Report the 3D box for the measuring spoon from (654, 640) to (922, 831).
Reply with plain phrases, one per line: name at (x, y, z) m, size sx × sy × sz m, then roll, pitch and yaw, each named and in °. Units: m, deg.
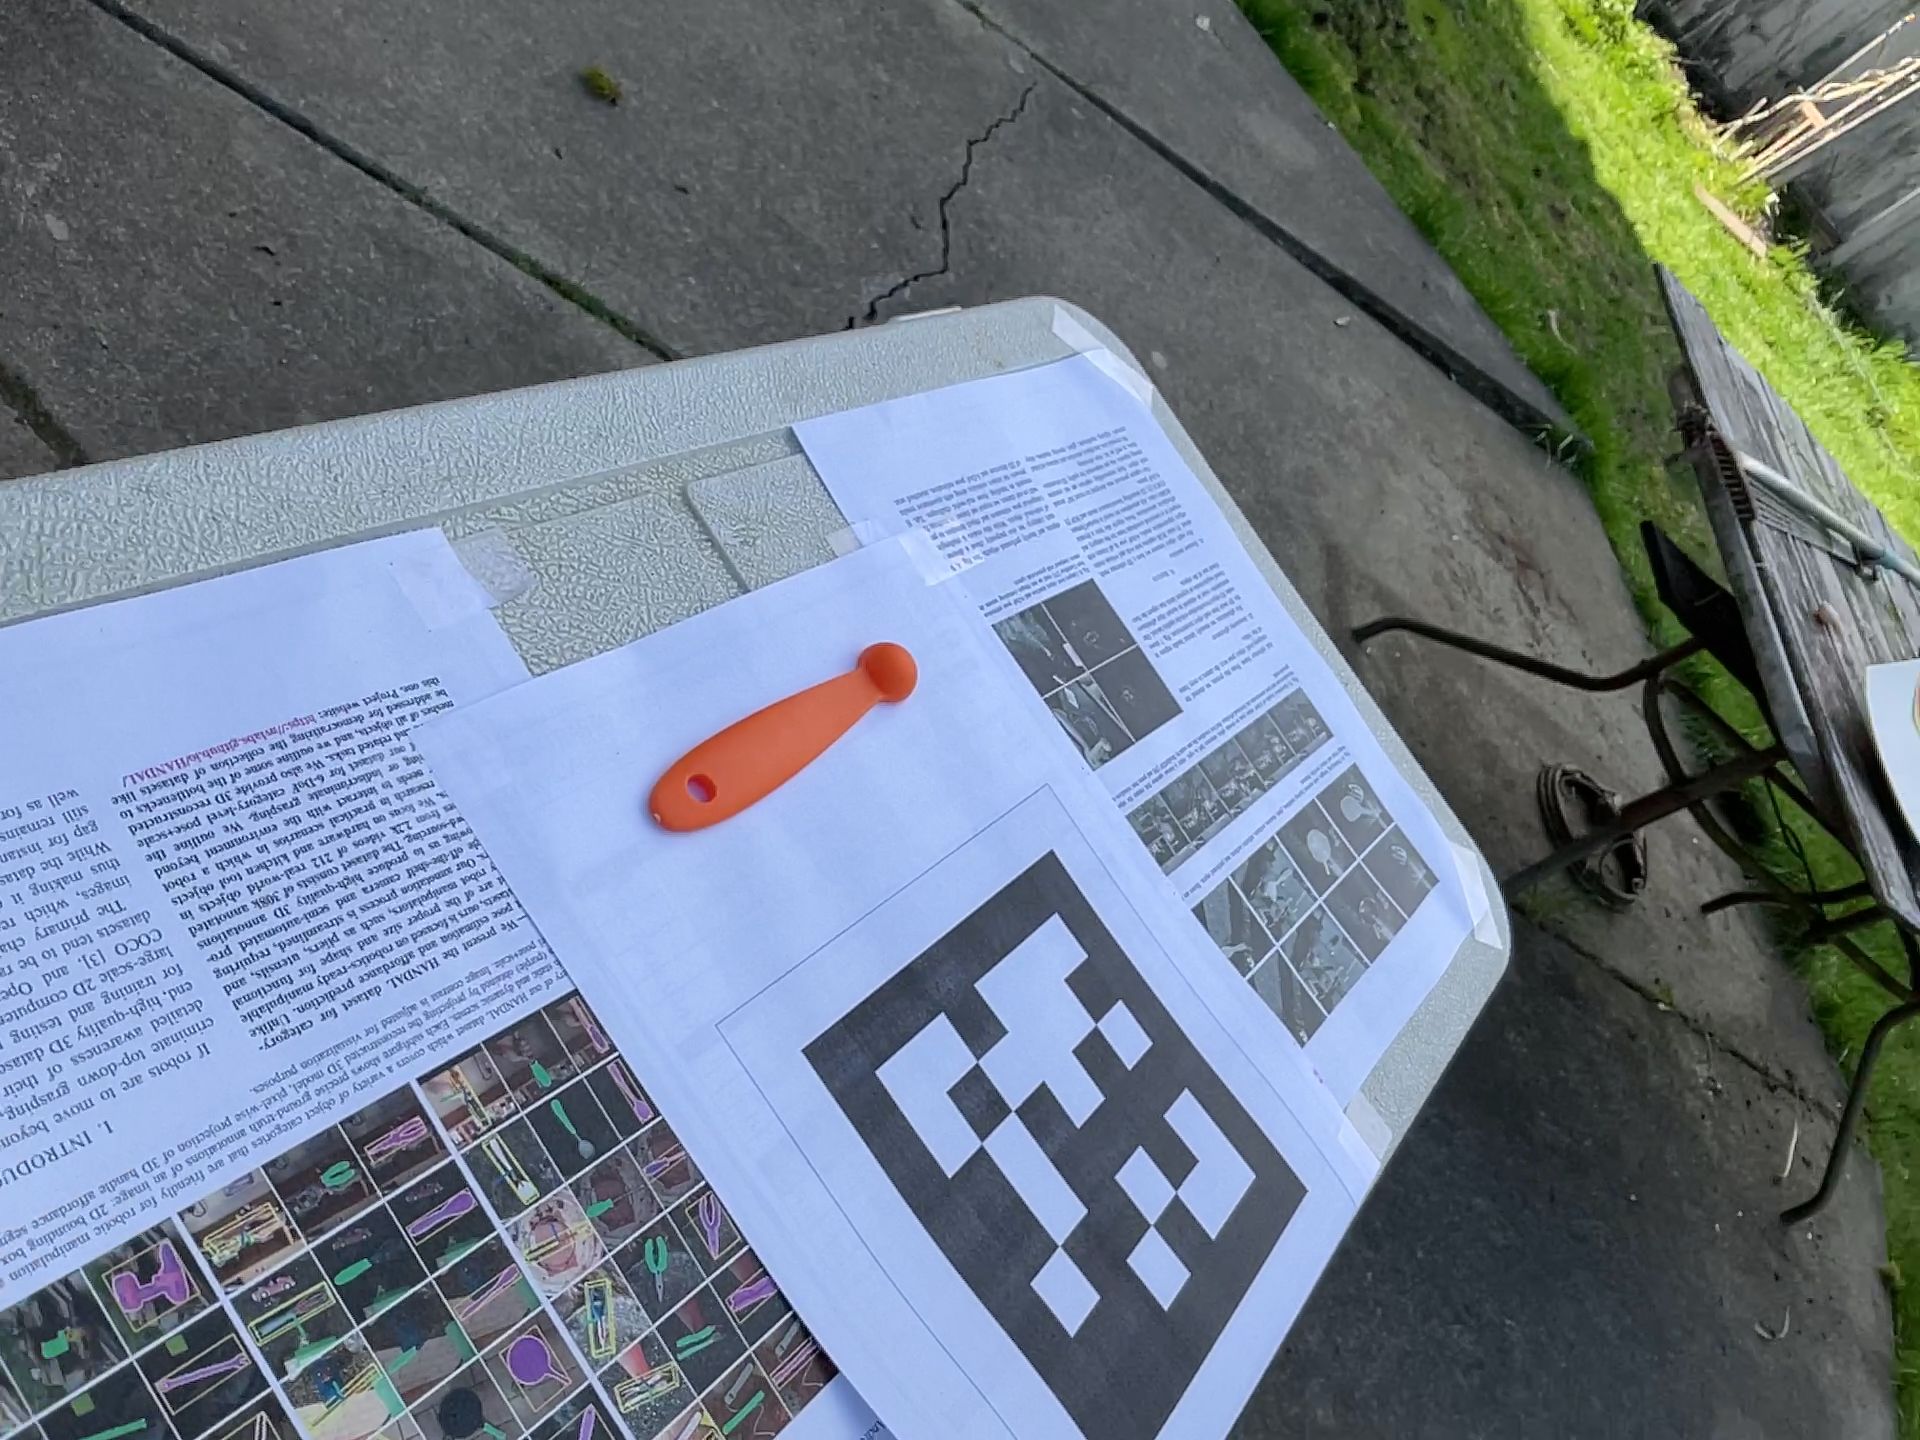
measuring spoon at (-0.043, 0.001, 0.440) m, size 0.021 × 0.011 × 0.117 m, roll 49°, pitch 38°, yaw 4°
